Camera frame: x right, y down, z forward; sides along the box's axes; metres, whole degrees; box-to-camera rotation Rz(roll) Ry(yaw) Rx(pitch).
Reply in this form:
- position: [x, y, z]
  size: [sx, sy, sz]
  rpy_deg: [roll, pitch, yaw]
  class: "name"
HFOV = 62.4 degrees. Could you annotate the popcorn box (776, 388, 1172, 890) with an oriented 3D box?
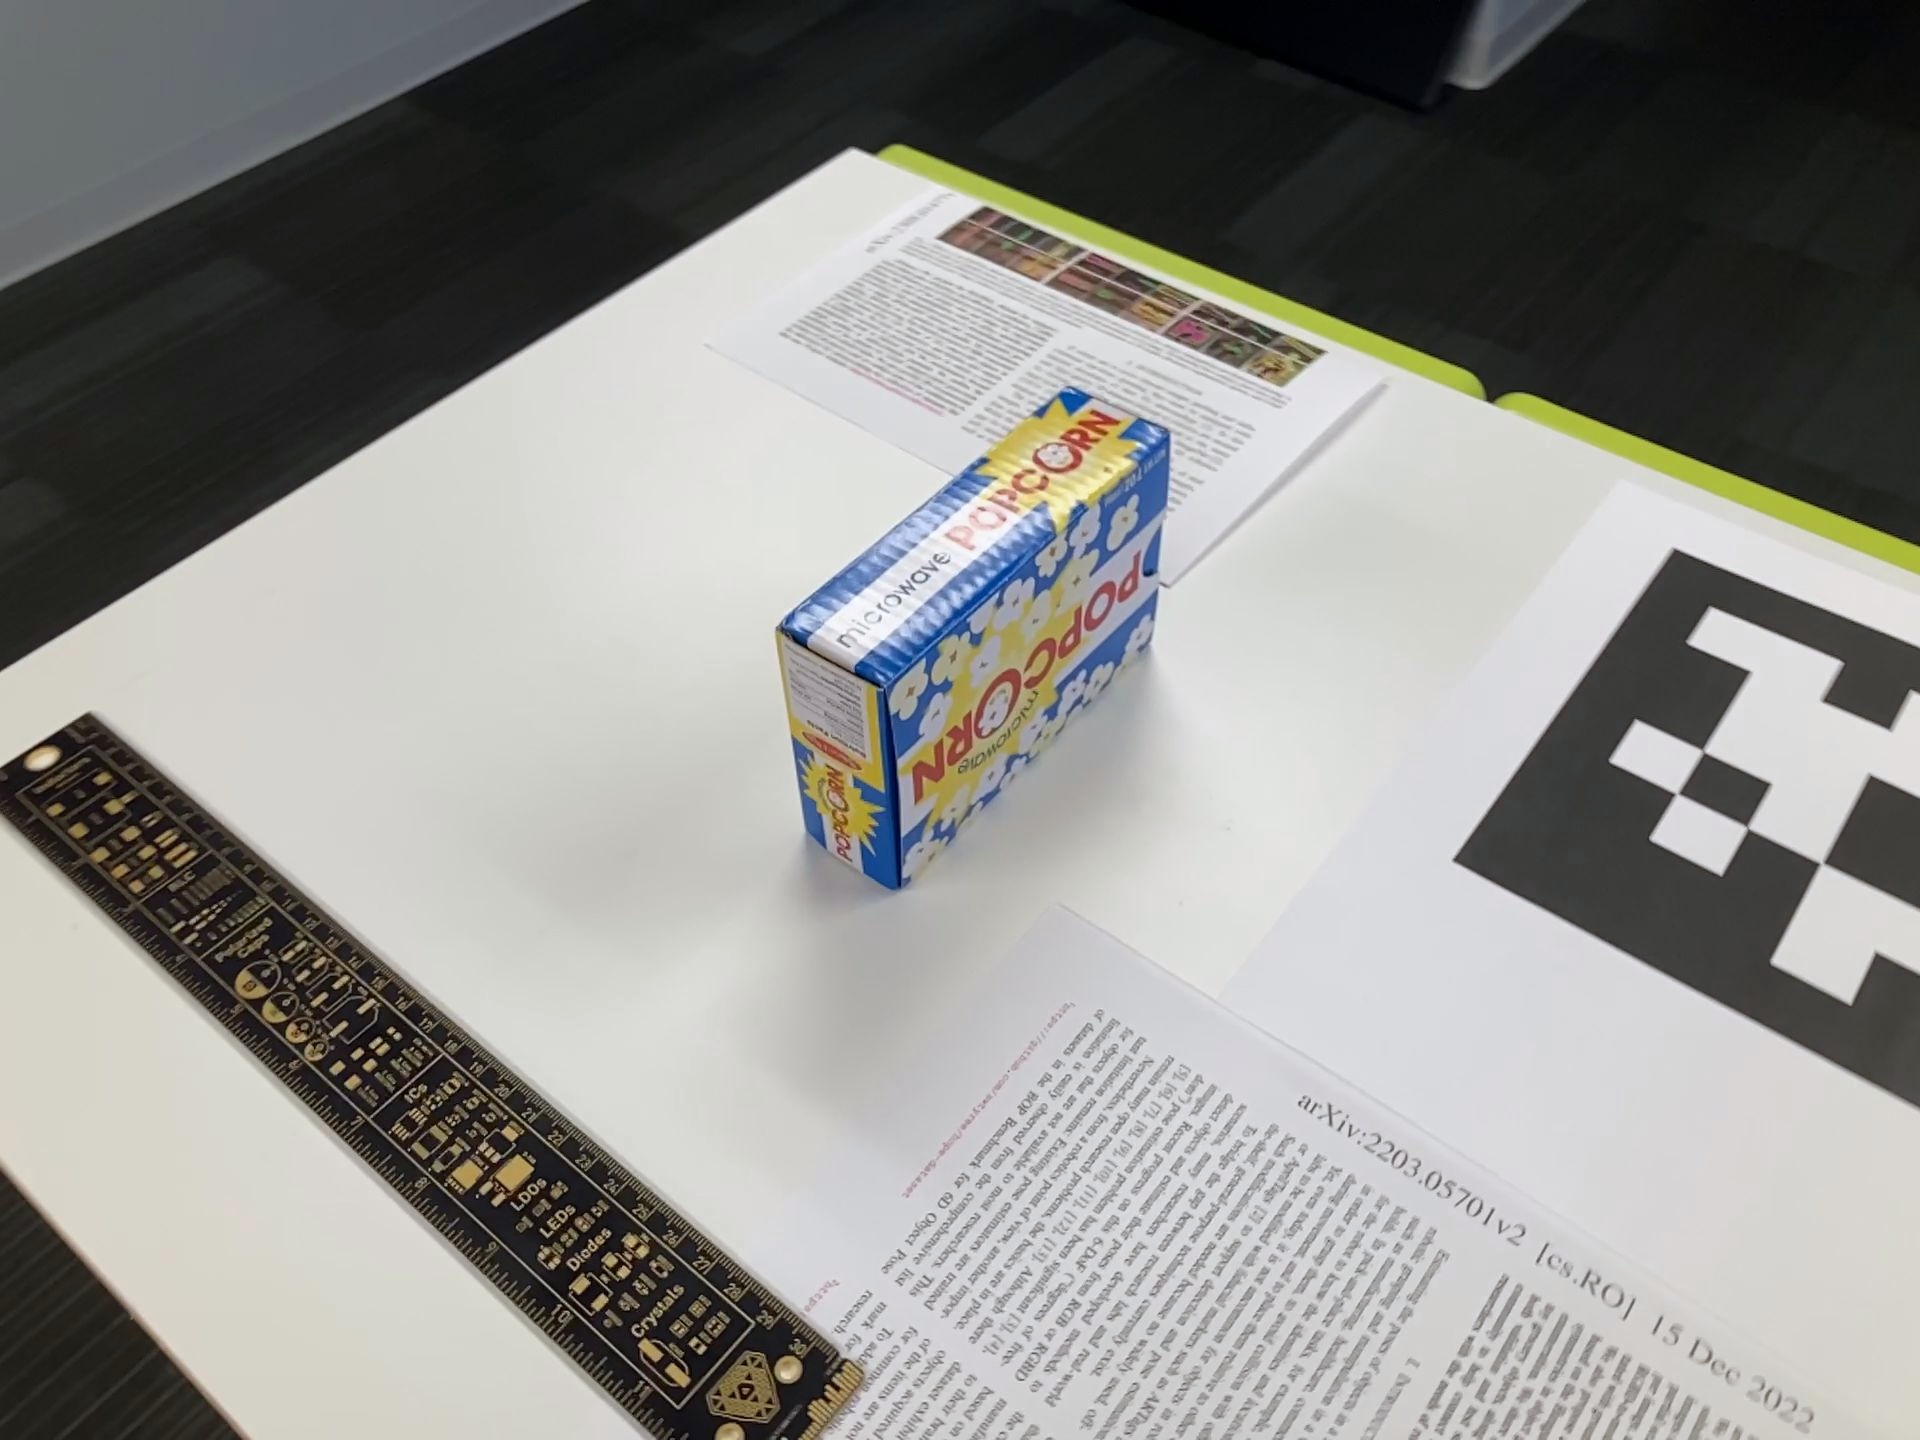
- position: [0.007, -0.024, 0.447]
  size: [0.038, 0.085, 0.126]
  rpy_deg: [30, 56, 26]
  class: "popcorn box"
